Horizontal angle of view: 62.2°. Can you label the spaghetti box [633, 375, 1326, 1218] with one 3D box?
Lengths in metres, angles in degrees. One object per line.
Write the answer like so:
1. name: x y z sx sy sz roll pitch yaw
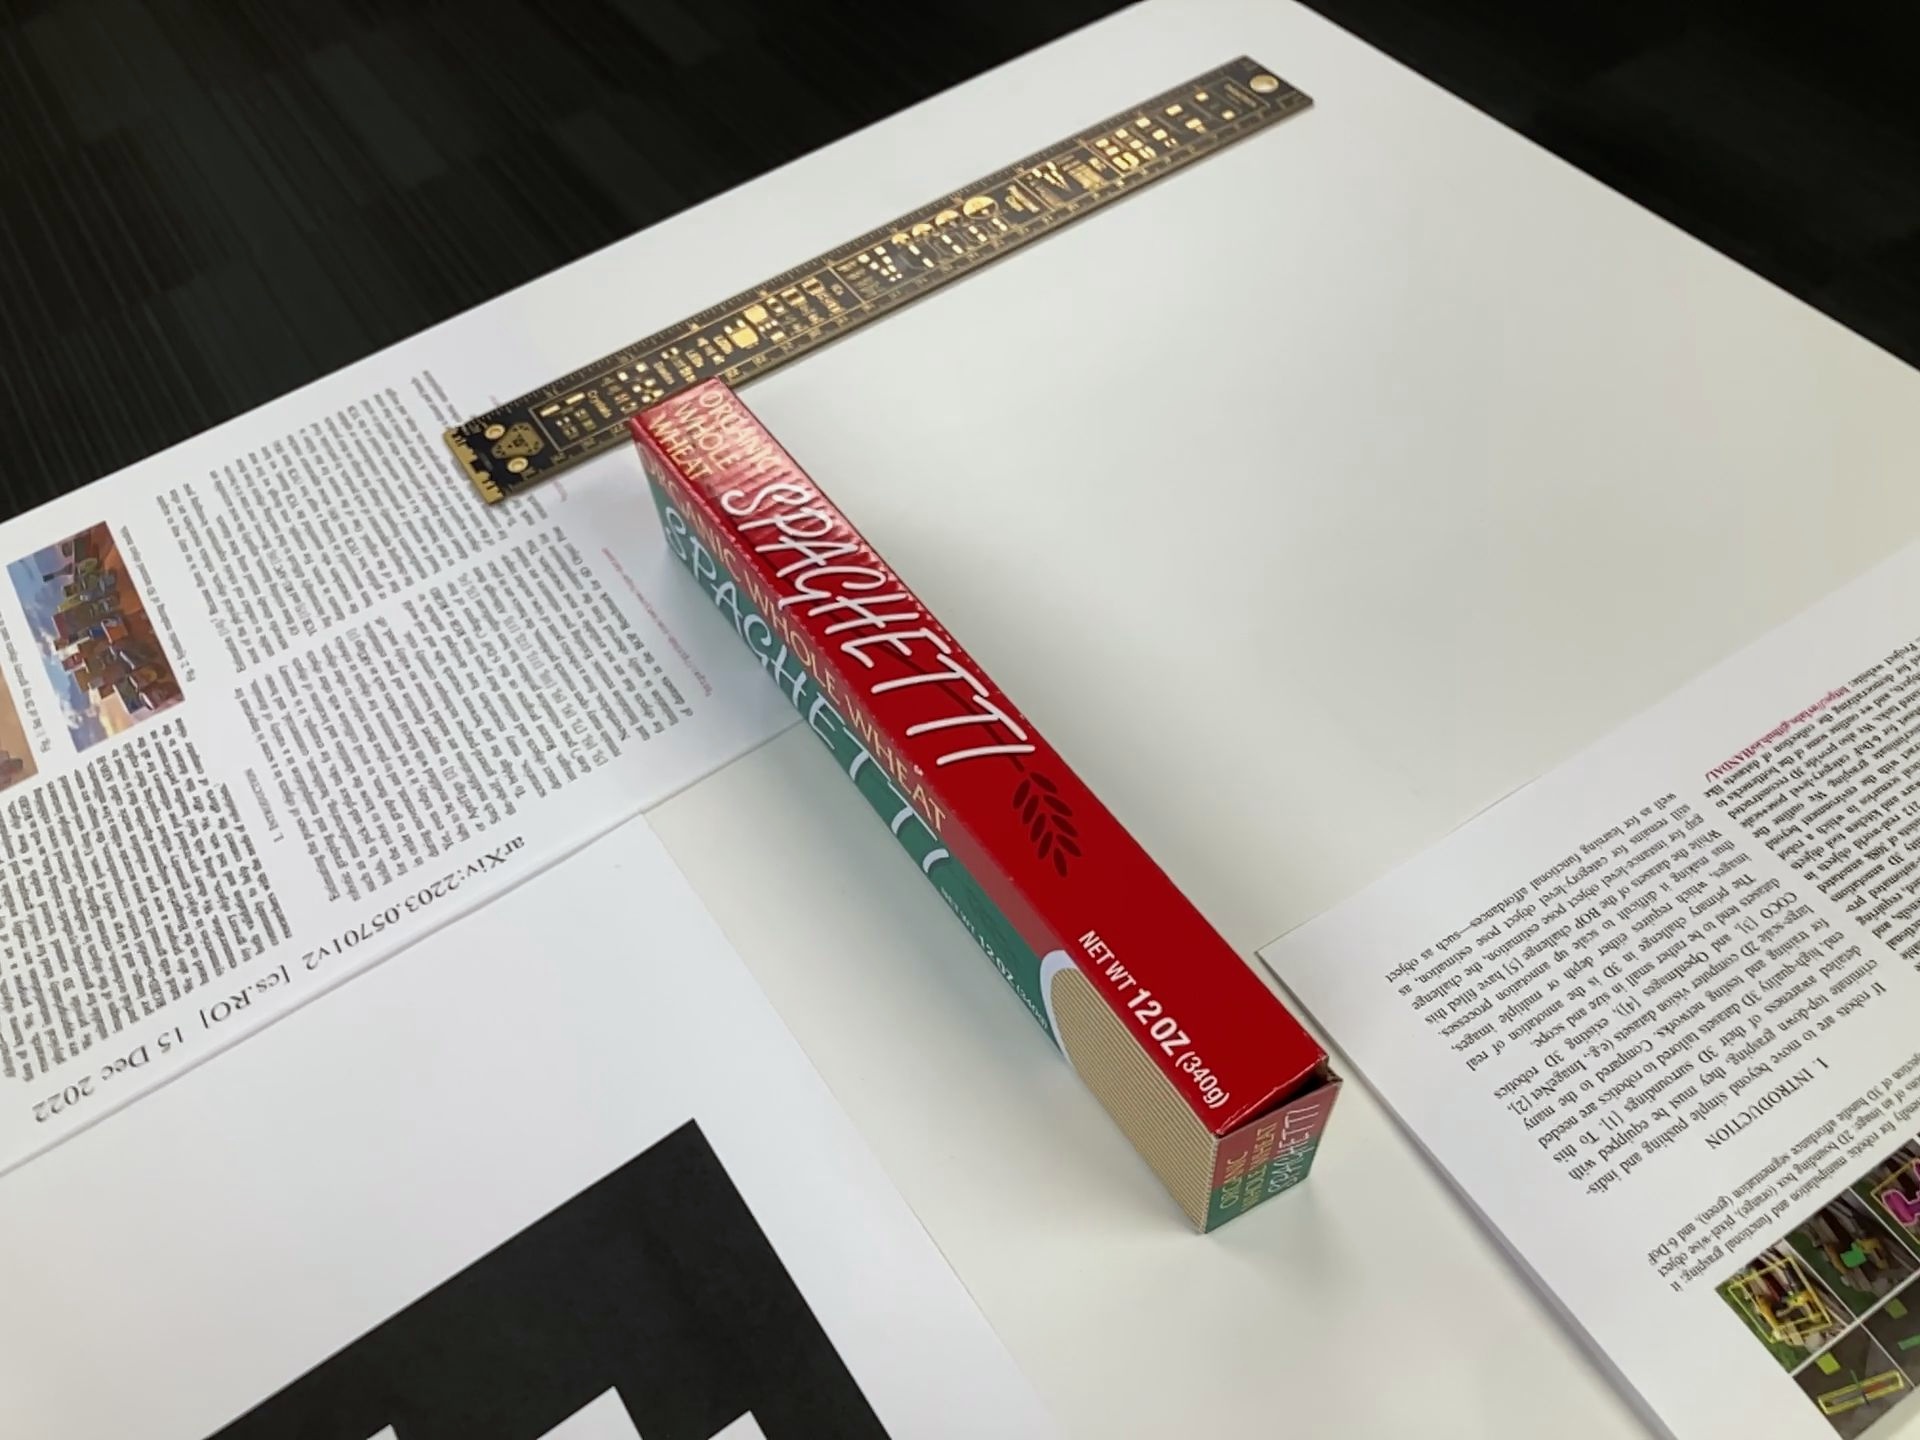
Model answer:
1. spaghetti box: -0.008 0.005 0.380 0.028 0.050 0.250 -29 55 -17
